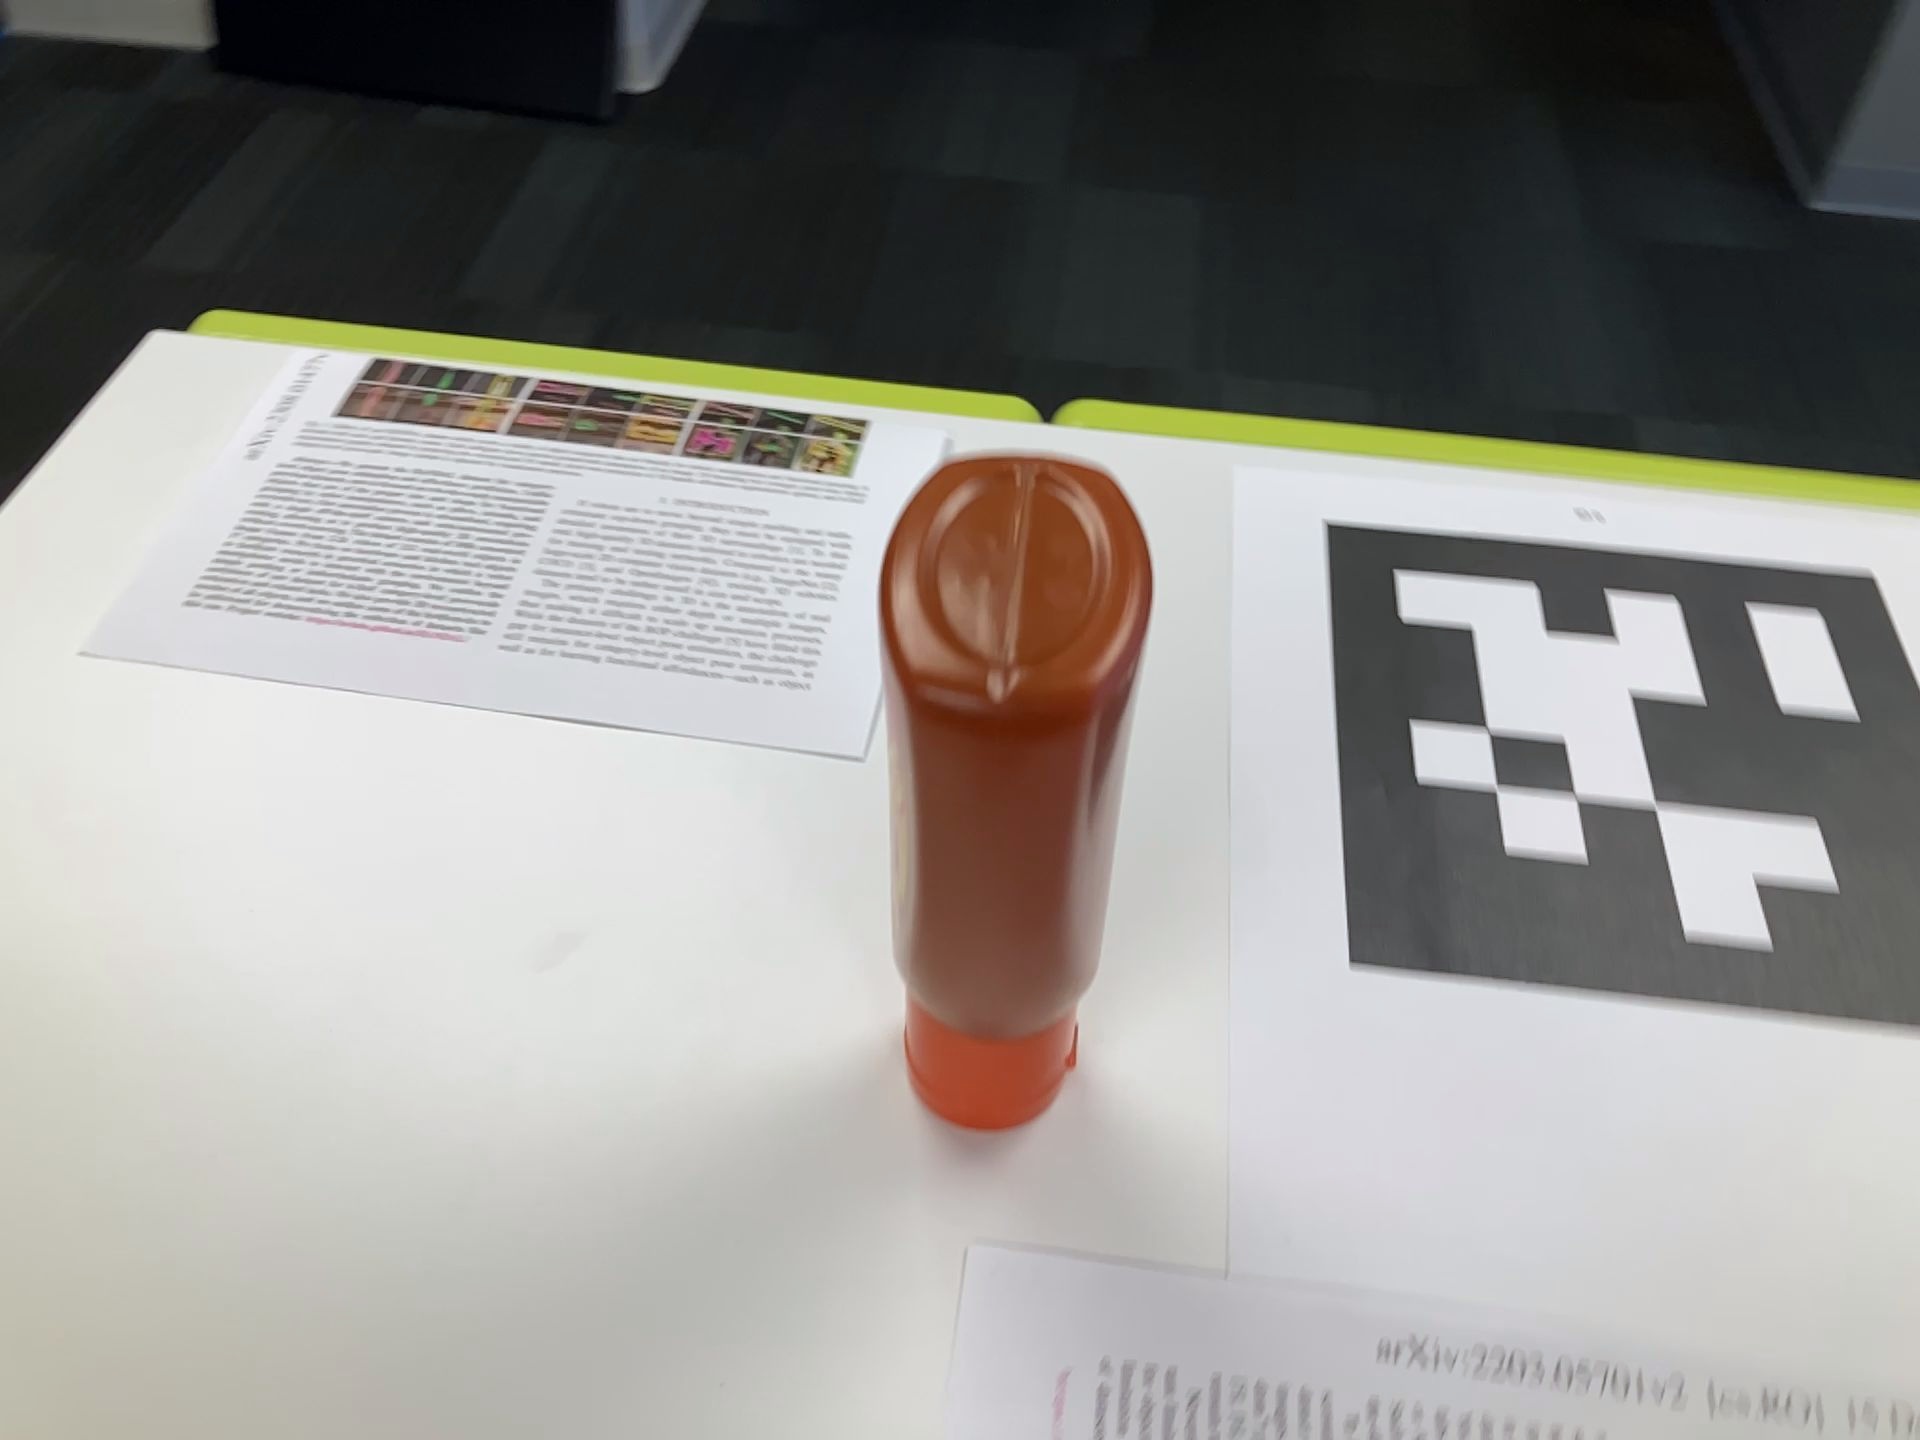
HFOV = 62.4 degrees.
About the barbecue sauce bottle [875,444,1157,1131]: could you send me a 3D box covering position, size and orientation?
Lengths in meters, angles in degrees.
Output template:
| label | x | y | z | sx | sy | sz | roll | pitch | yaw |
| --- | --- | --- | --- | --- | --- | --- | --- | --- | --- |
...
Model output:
| label | x | y | z | sx | sy | sz | roll | pitch | yaw |
| --- | --- | --- | --- | --- | --- | --- | --- | --- | --- |
| barbecue sauce bottle | 0.008 | 0.025 | 0.298 | 0.043 | 0.148 | 0.065 | 5 | 47 | 3 |
